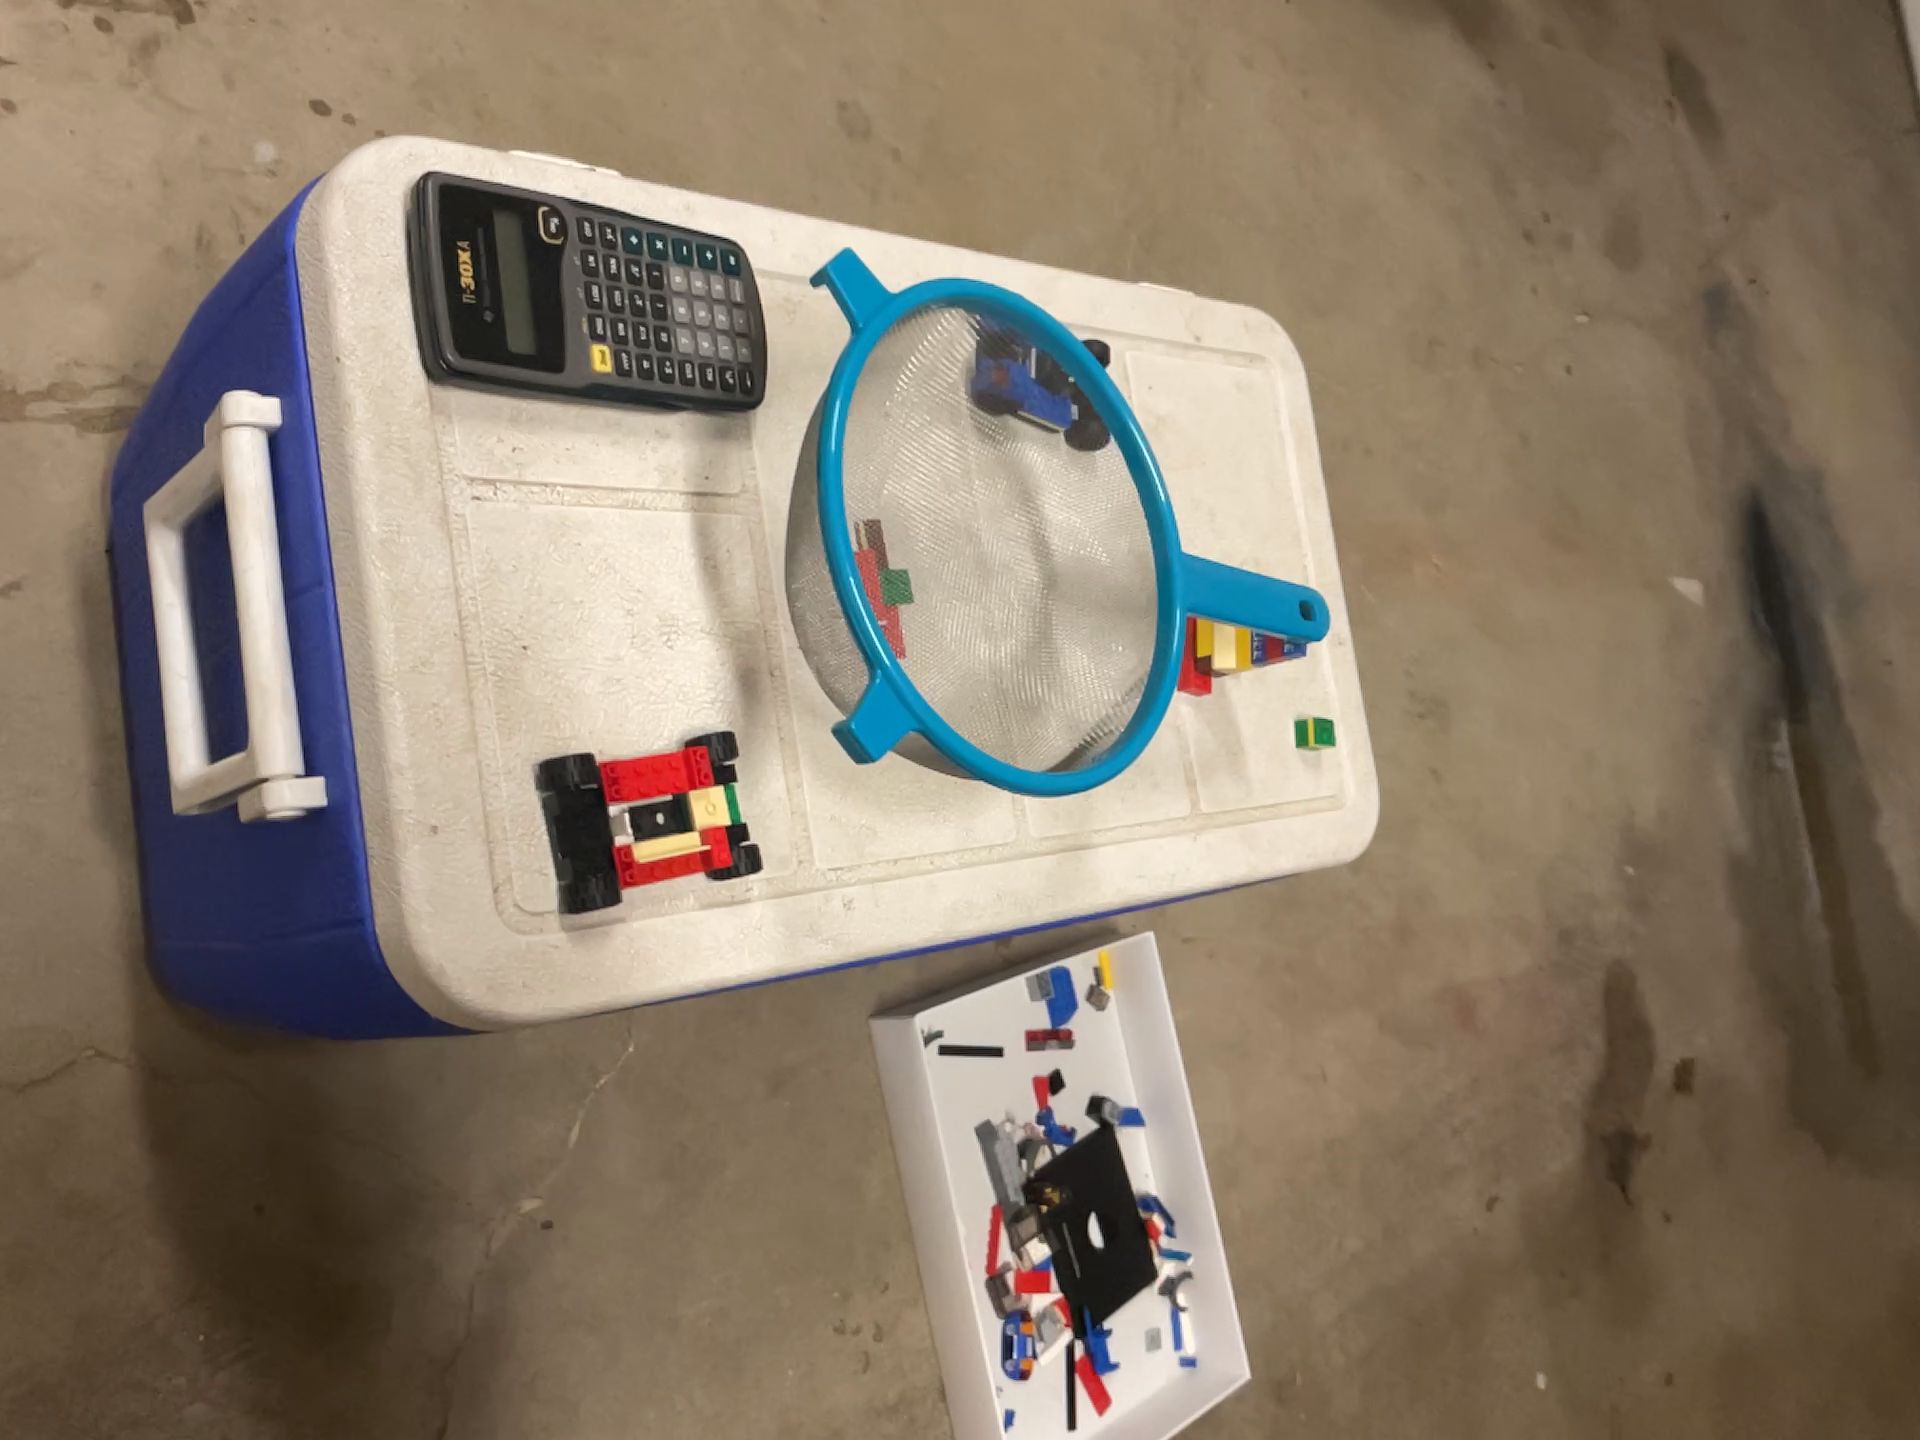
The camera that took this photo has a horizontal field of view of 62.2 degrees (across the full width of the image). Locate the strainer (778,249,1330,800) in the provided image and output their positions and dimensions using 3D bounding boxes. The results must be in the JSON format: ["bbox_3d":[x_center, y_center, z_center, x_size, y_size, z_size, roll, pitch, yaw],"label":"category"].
[{"bbox_3d":[0.040,-0.060,0.707,0.340,0.095,0.211,8,74,-47],"label":"strainer"}]
